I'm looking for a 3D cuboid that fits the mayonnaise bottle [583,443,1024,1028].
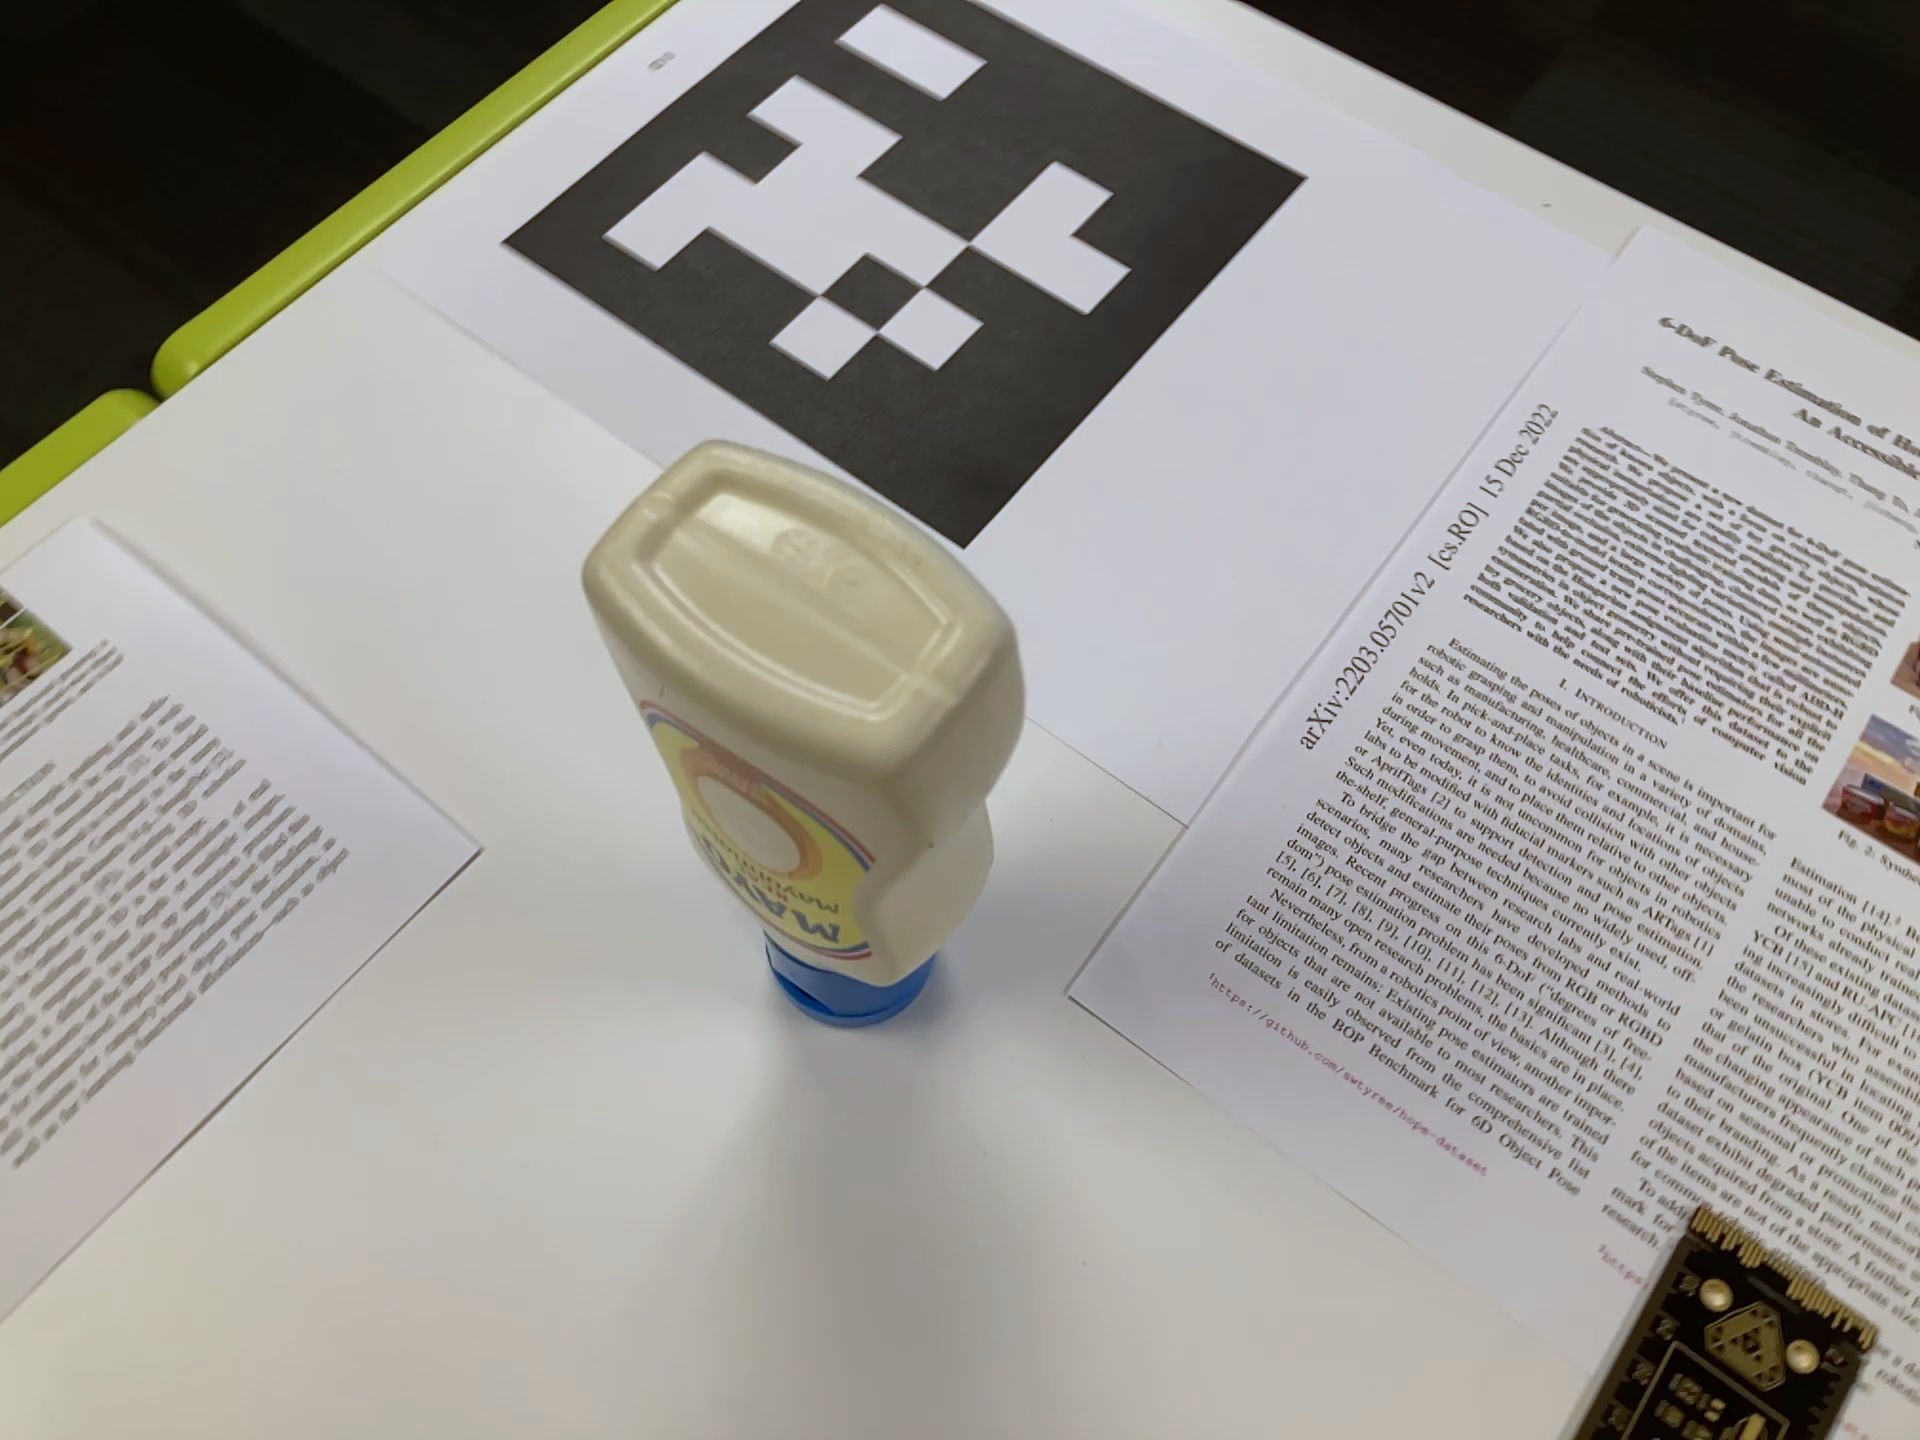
[{"bbox_3d":[-0.023,0.016,0.280,0.065,0.148,0.041,33,67,16],"label":"mayonnaise bottle"}]
